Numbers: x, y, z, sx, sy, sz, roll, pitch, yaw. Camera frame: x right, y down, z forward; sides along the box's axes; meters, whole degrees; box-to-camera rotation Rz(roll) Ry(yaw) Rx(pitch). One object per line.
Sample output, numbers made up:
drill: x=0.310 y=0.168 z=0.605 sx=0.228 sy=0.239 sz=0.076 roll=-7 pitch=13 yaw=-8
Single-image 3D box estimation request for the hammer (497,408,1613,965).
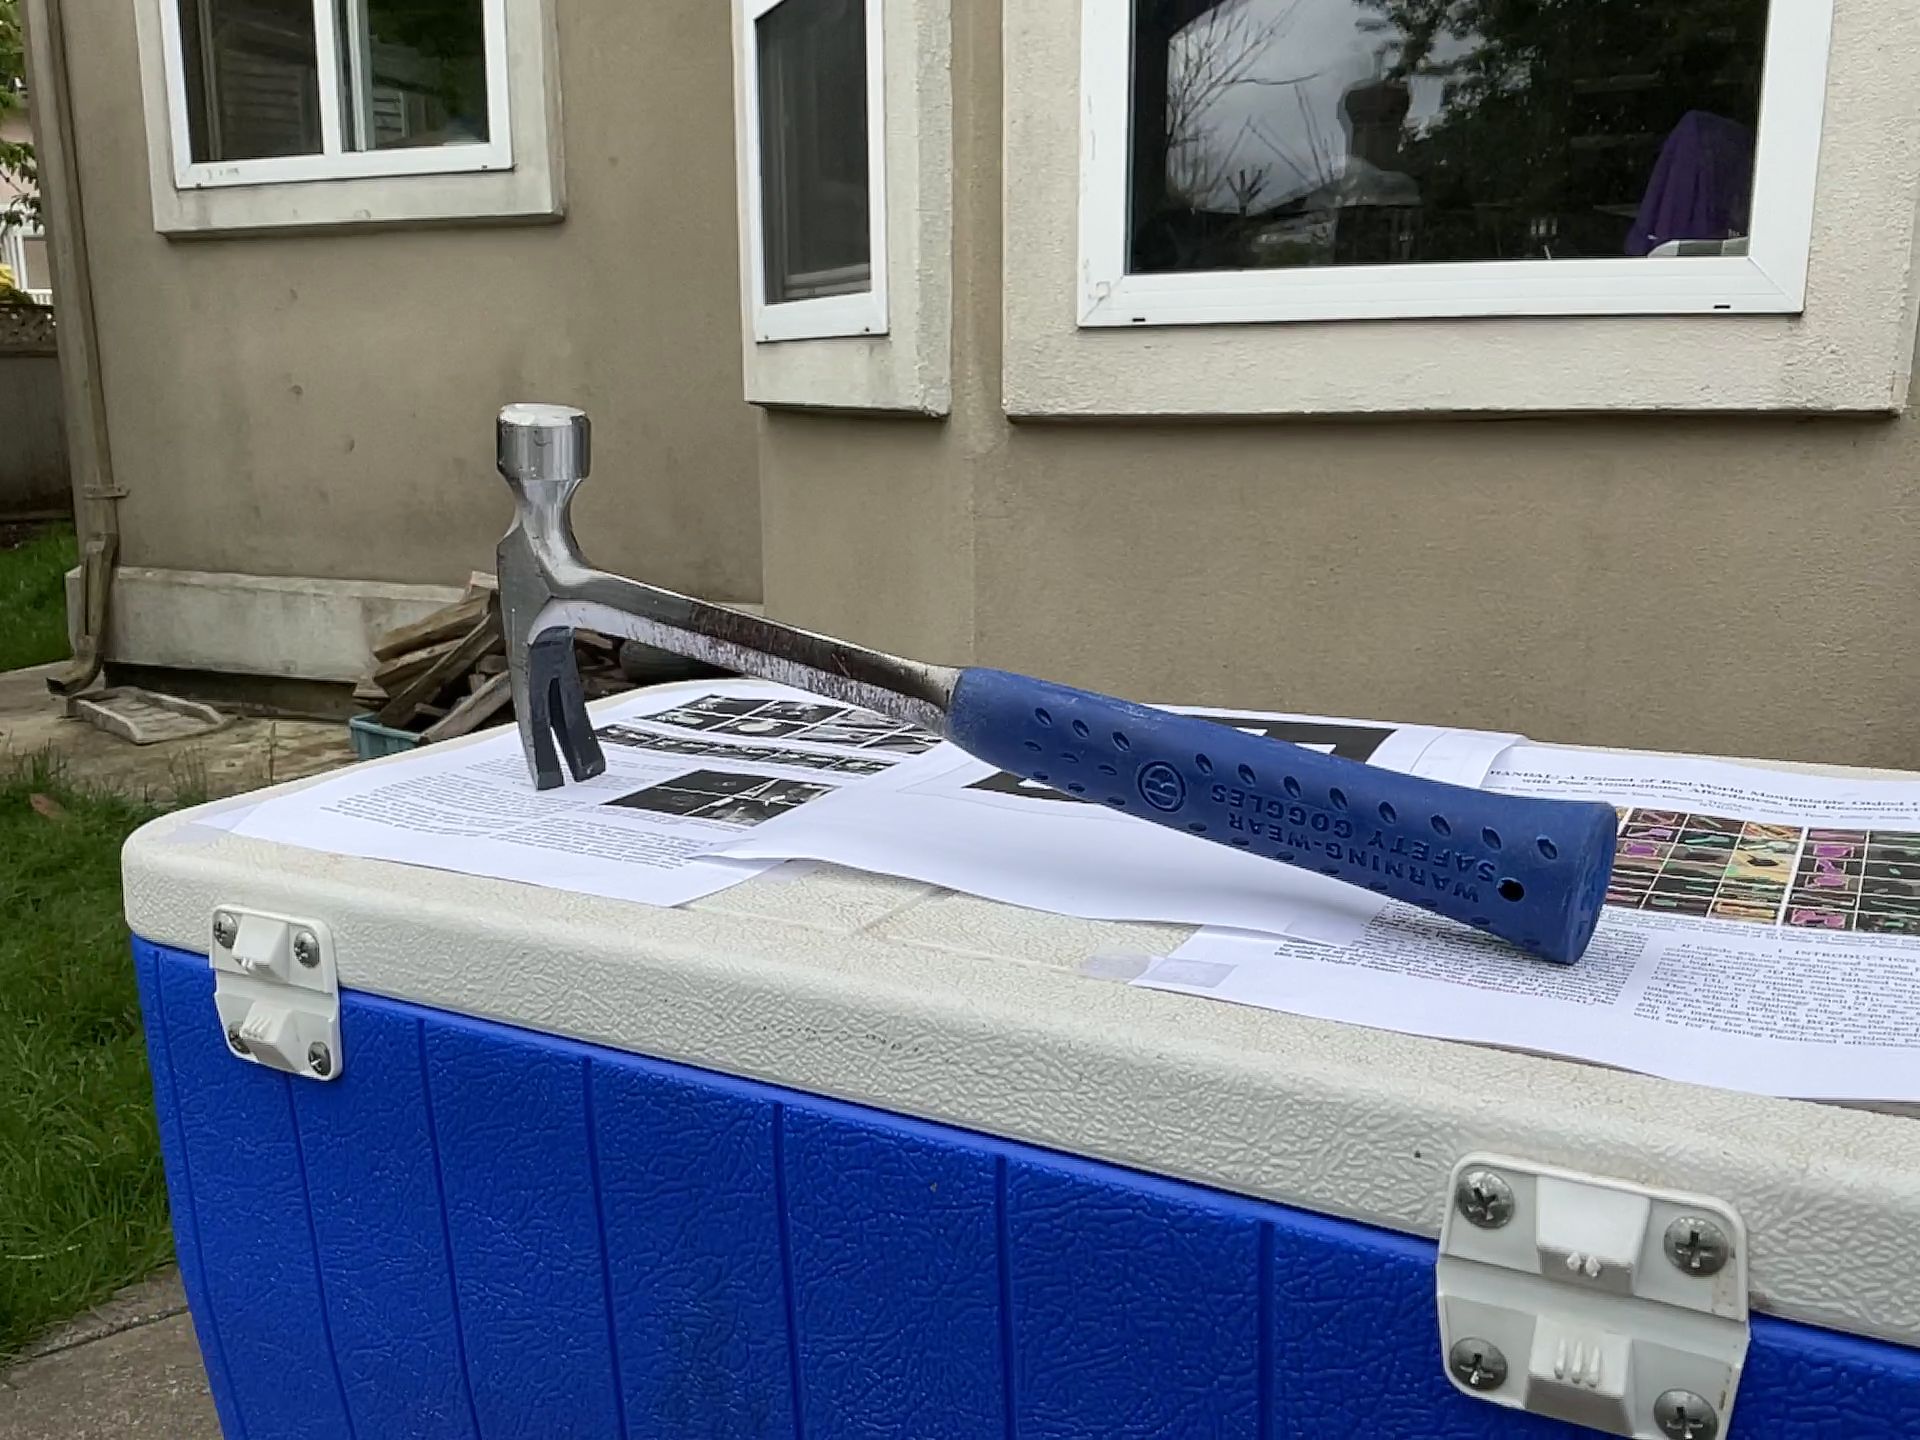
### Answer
hammer: x=-0.007 y=0.000 z=0.509 sx=0.405 sy=0.144 sz=0.035 roll=17 pitch=22 yaw=32
